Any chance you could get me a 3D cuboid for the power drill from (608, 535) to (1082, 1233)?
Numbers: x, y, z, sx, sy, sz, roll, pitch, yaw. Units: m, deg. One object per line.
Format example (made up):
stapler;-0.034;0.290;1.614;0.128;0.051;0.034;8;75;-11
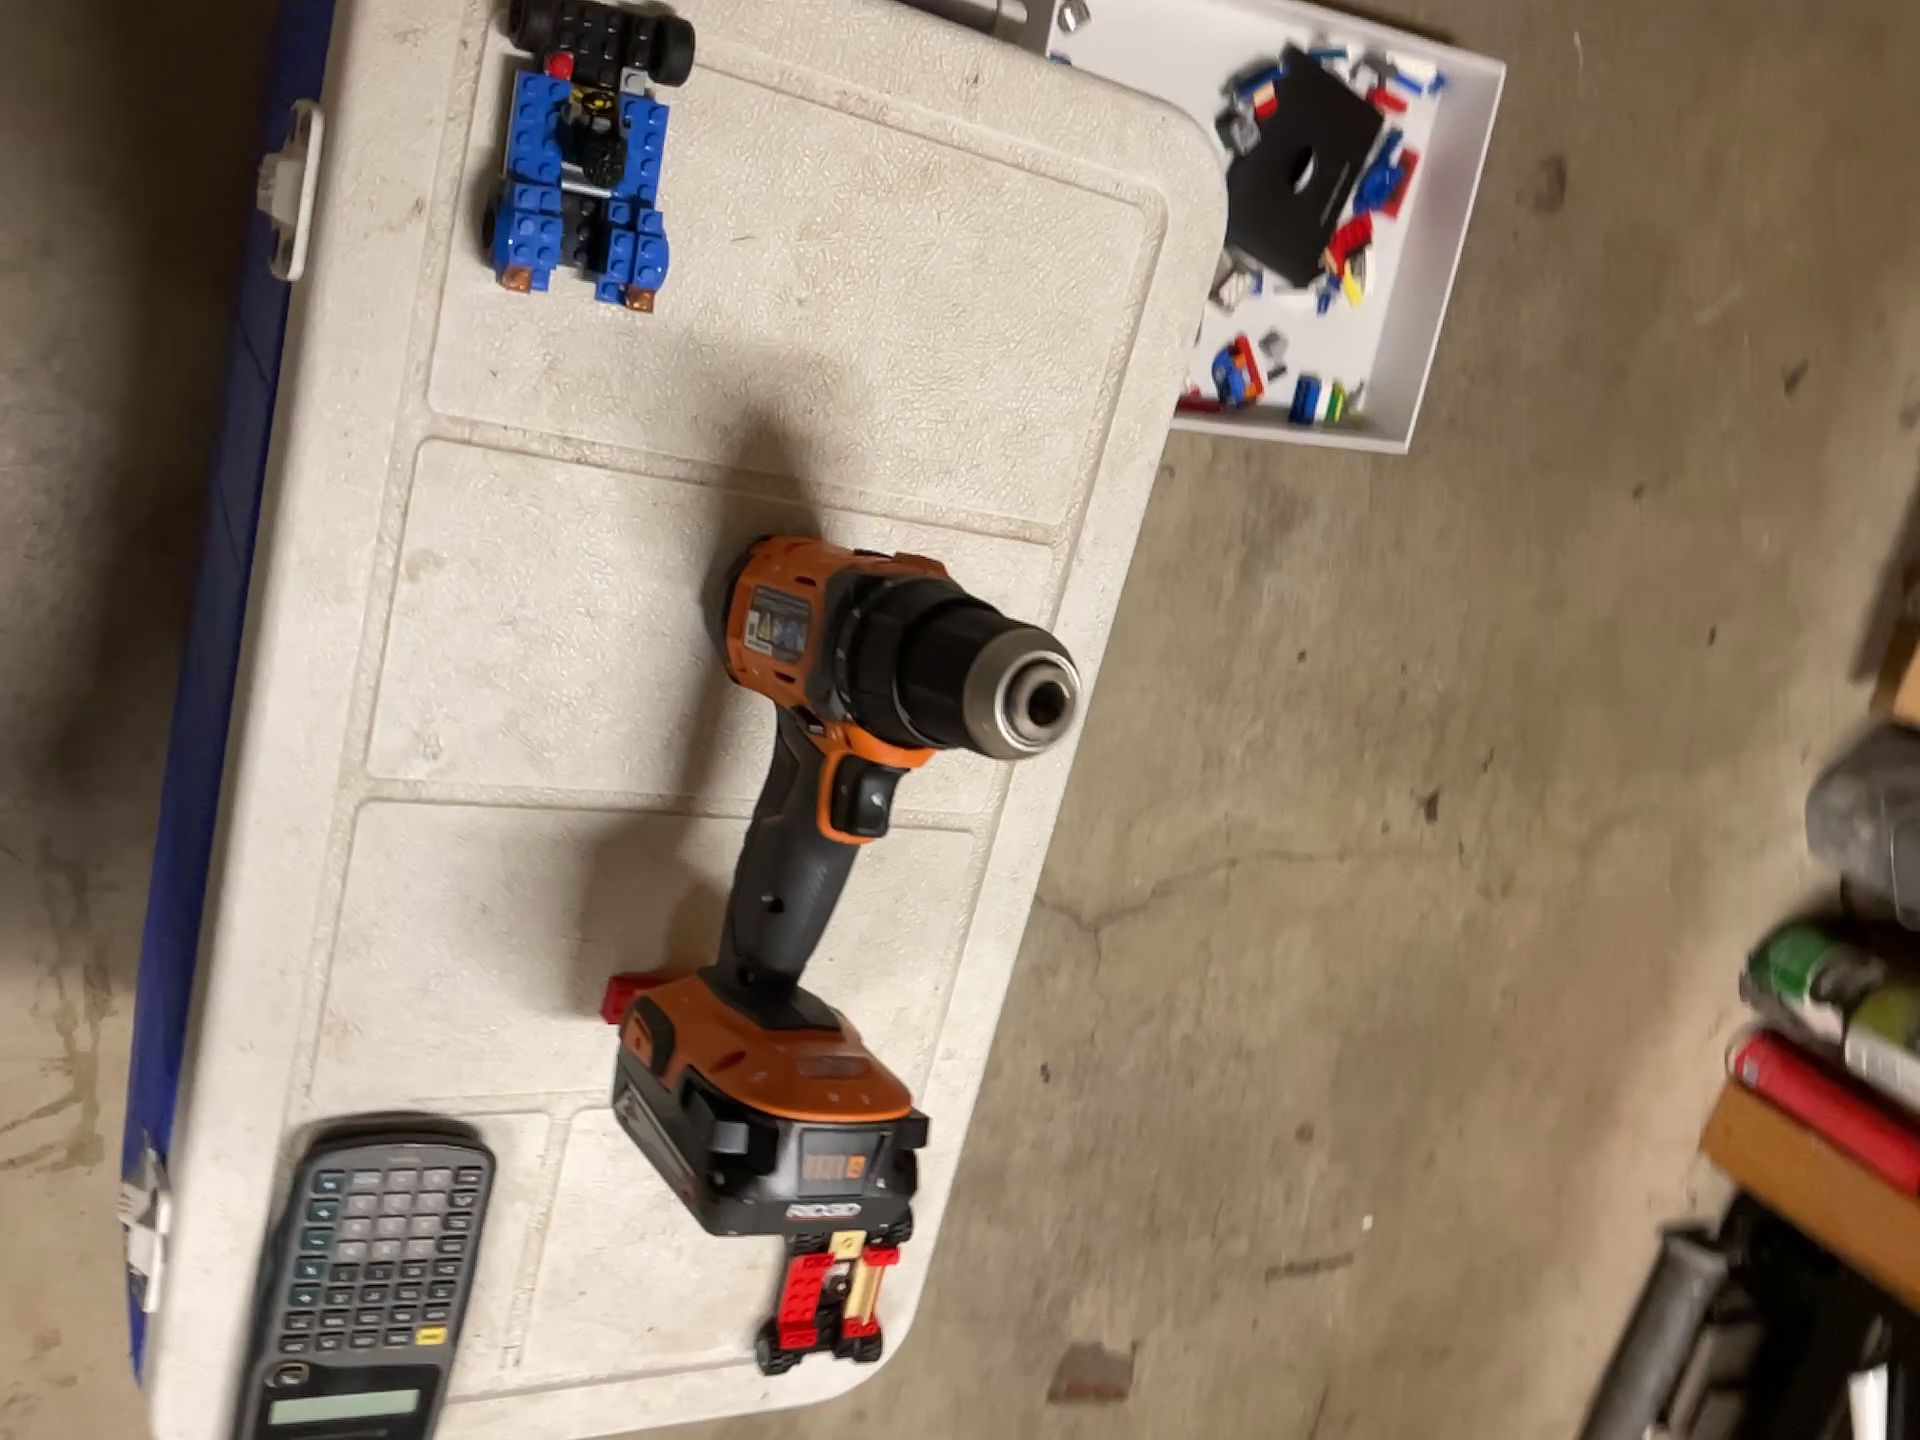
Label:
power drill;-0.040;0.054;0.539;0.084;0.185;0.226;9;96;-34
